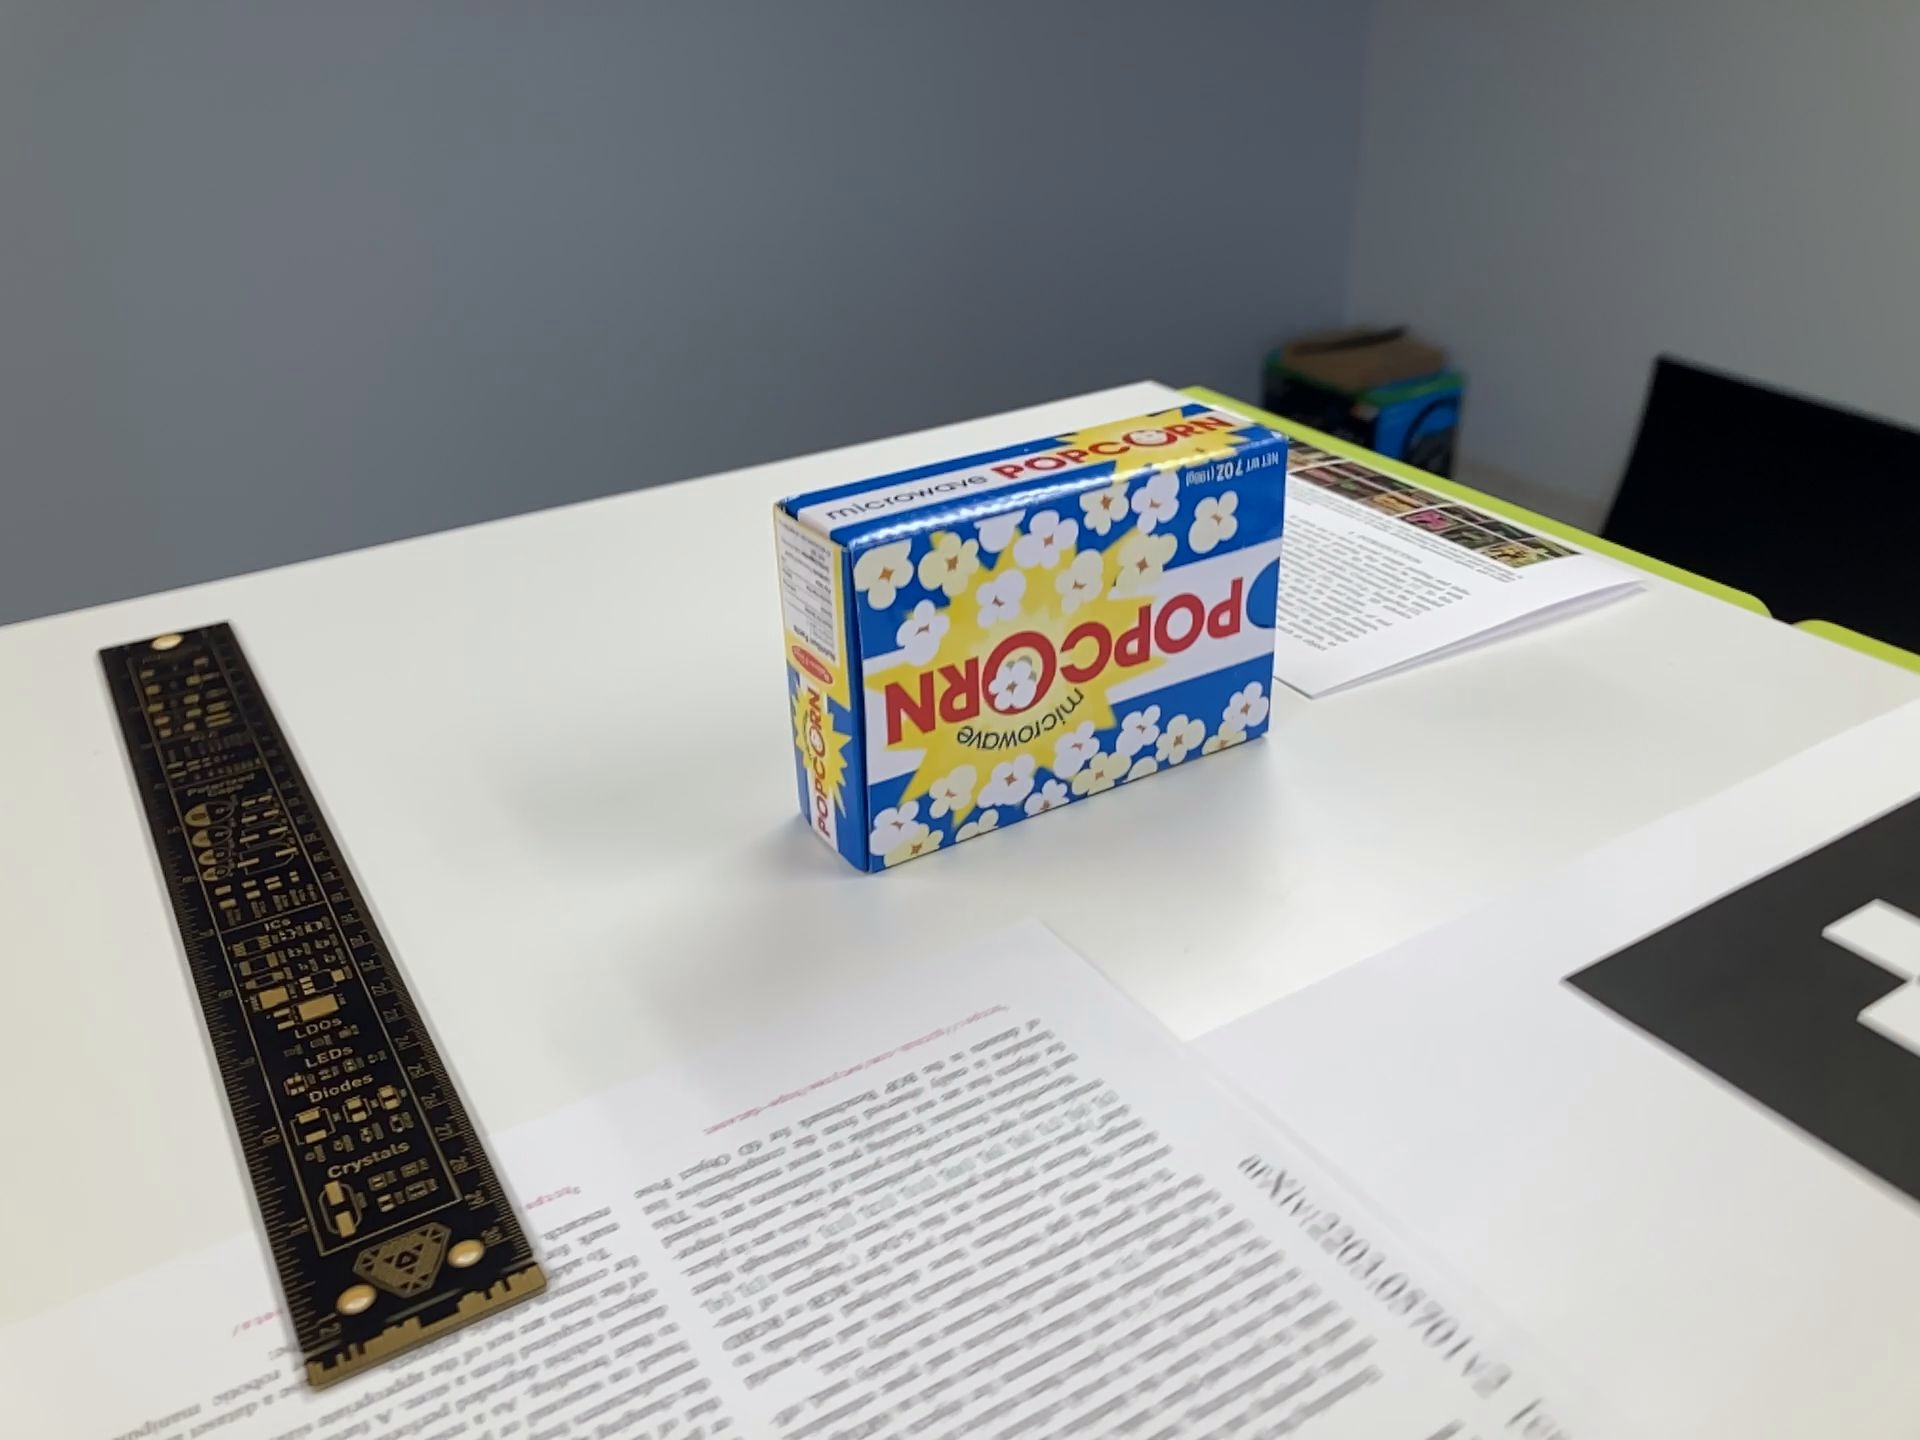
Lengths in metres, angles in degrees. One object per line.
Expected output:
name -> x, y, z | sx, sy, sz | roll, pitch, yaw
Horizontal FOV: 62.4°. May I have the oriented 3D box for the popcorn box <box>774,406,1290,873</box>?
popcorn box -> 0.020, -0.023, 0.395 | 0.126, 0.085, 0.038 | -18, 31, -27
